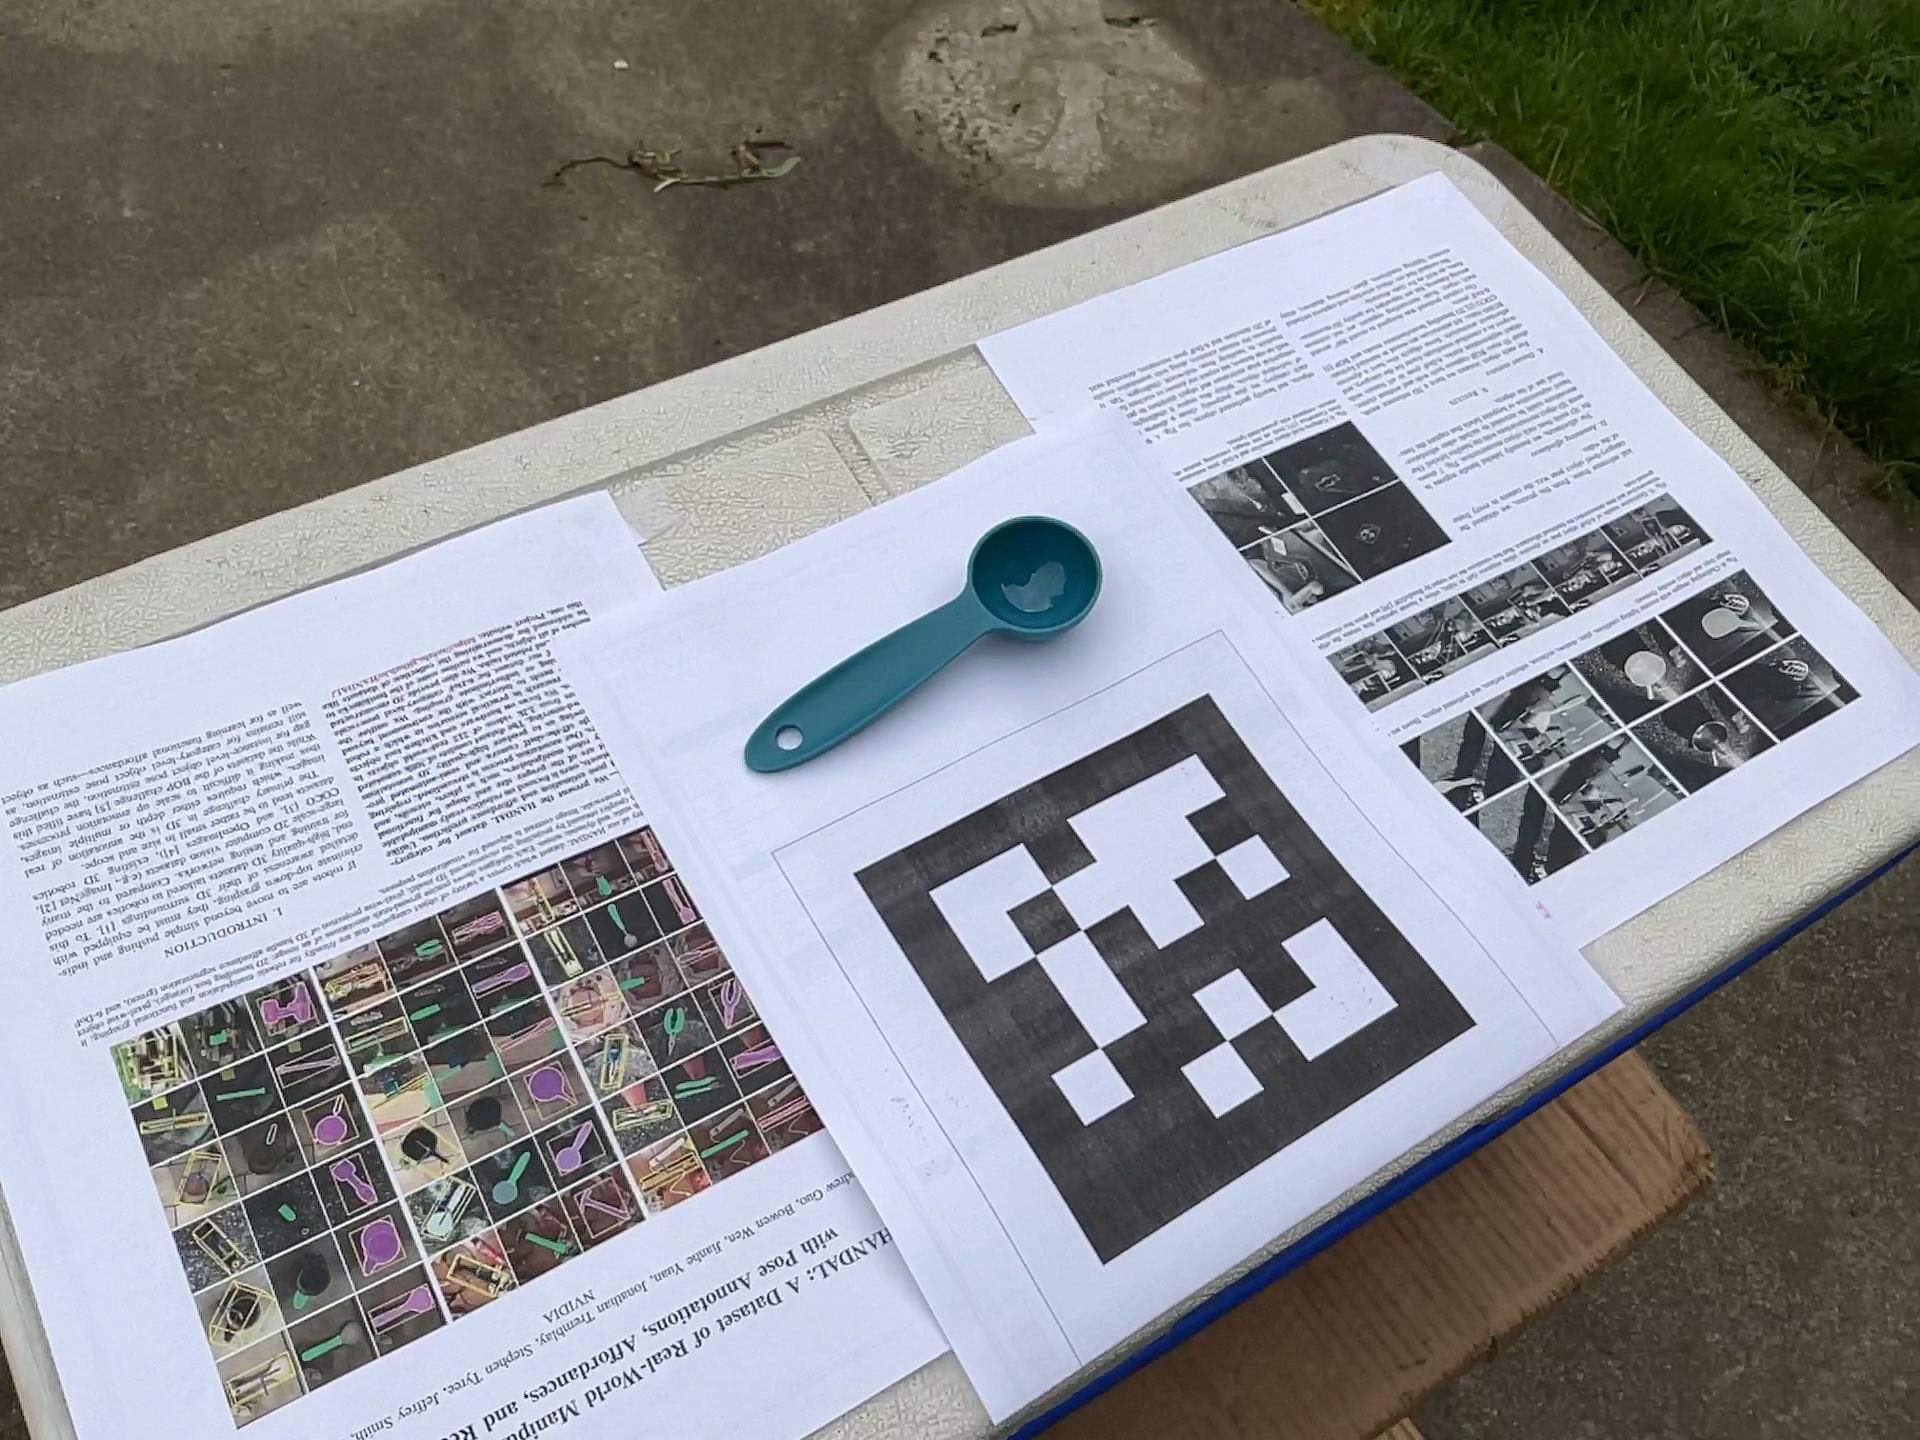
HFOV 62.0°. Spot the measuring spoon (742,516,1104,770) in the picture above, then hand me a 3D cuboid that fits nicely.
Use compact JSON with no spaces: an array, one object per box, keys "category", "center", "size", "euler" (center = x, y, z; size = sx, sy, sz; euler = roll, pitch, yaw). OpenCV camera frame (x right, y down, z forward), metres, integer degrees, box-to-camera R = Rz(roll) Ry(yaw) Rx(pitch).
[{"category":"measuring spoon","center":[-0.012,-0.019,0.497],"size":[0.128,0.021,0.042],"euler":[-33,69,-13]}]
